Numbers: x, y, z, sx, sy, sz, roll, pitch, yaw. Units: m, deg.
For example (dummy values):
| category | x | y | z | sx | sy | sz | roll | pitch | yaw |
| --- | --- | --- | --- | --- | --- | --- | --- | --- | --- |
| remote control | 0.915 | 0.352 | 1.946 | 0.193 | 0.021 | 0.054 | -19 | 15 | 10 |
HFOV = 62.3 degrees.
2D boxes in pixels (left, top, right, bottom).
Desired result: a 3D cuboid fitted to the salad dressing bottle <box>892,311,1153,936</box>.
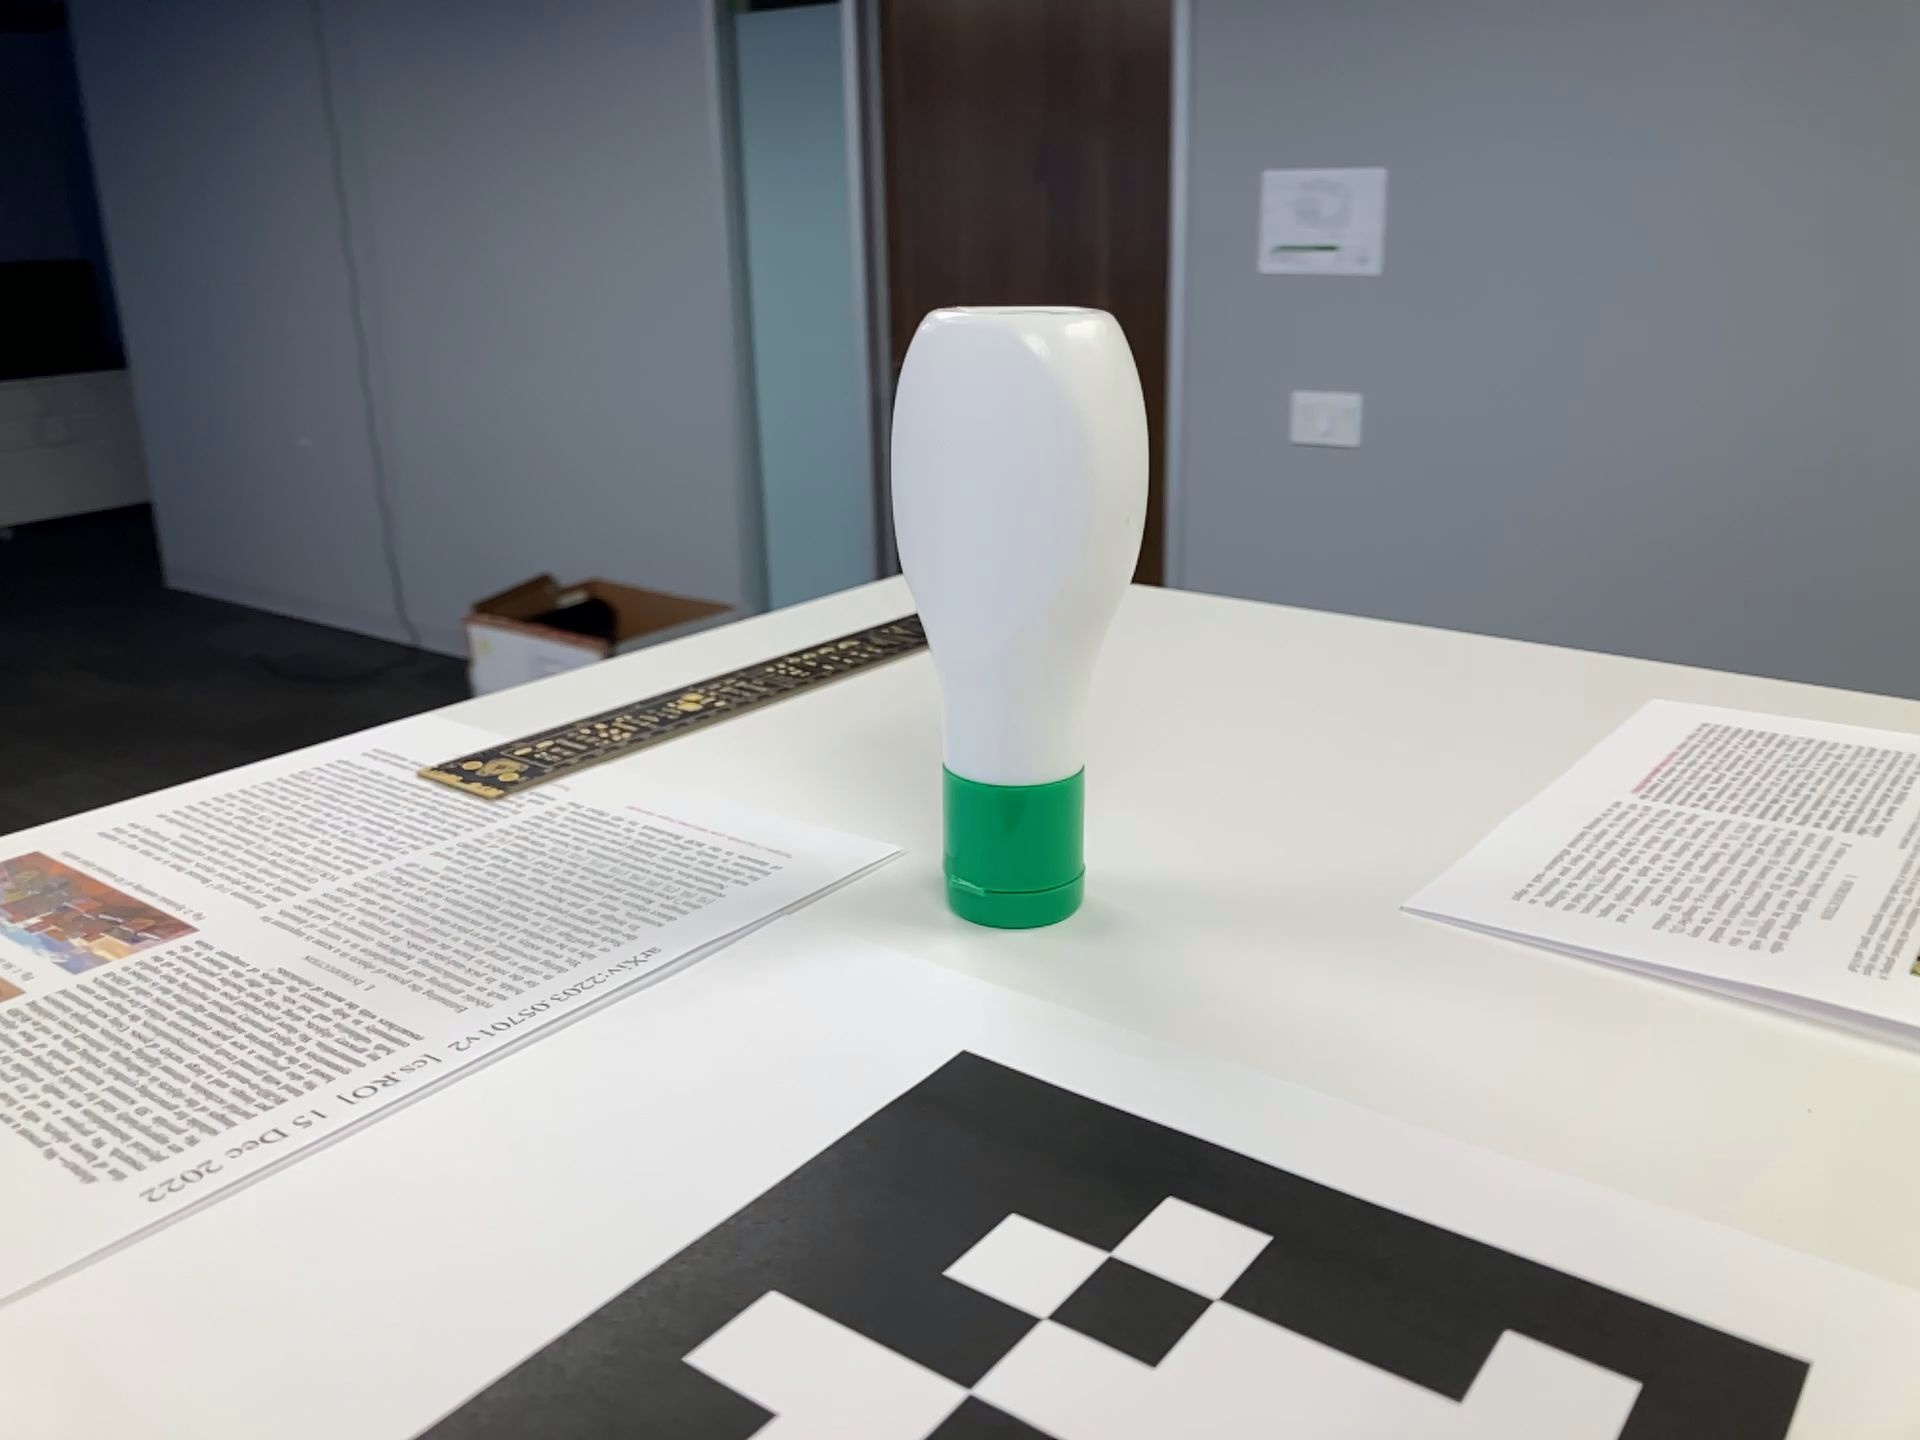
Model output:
| category | x | y | z | sx | sy | sz | roll | pitch | yaw |
| --- | --- | --- | --- | --- | --- | --- | --- | --- | --- |
| salad dressing bottle | 0.014 | -0.022 | 0.384 | 0.064 | 0.147 | 0.044 | 14 | 21 | 37 |
